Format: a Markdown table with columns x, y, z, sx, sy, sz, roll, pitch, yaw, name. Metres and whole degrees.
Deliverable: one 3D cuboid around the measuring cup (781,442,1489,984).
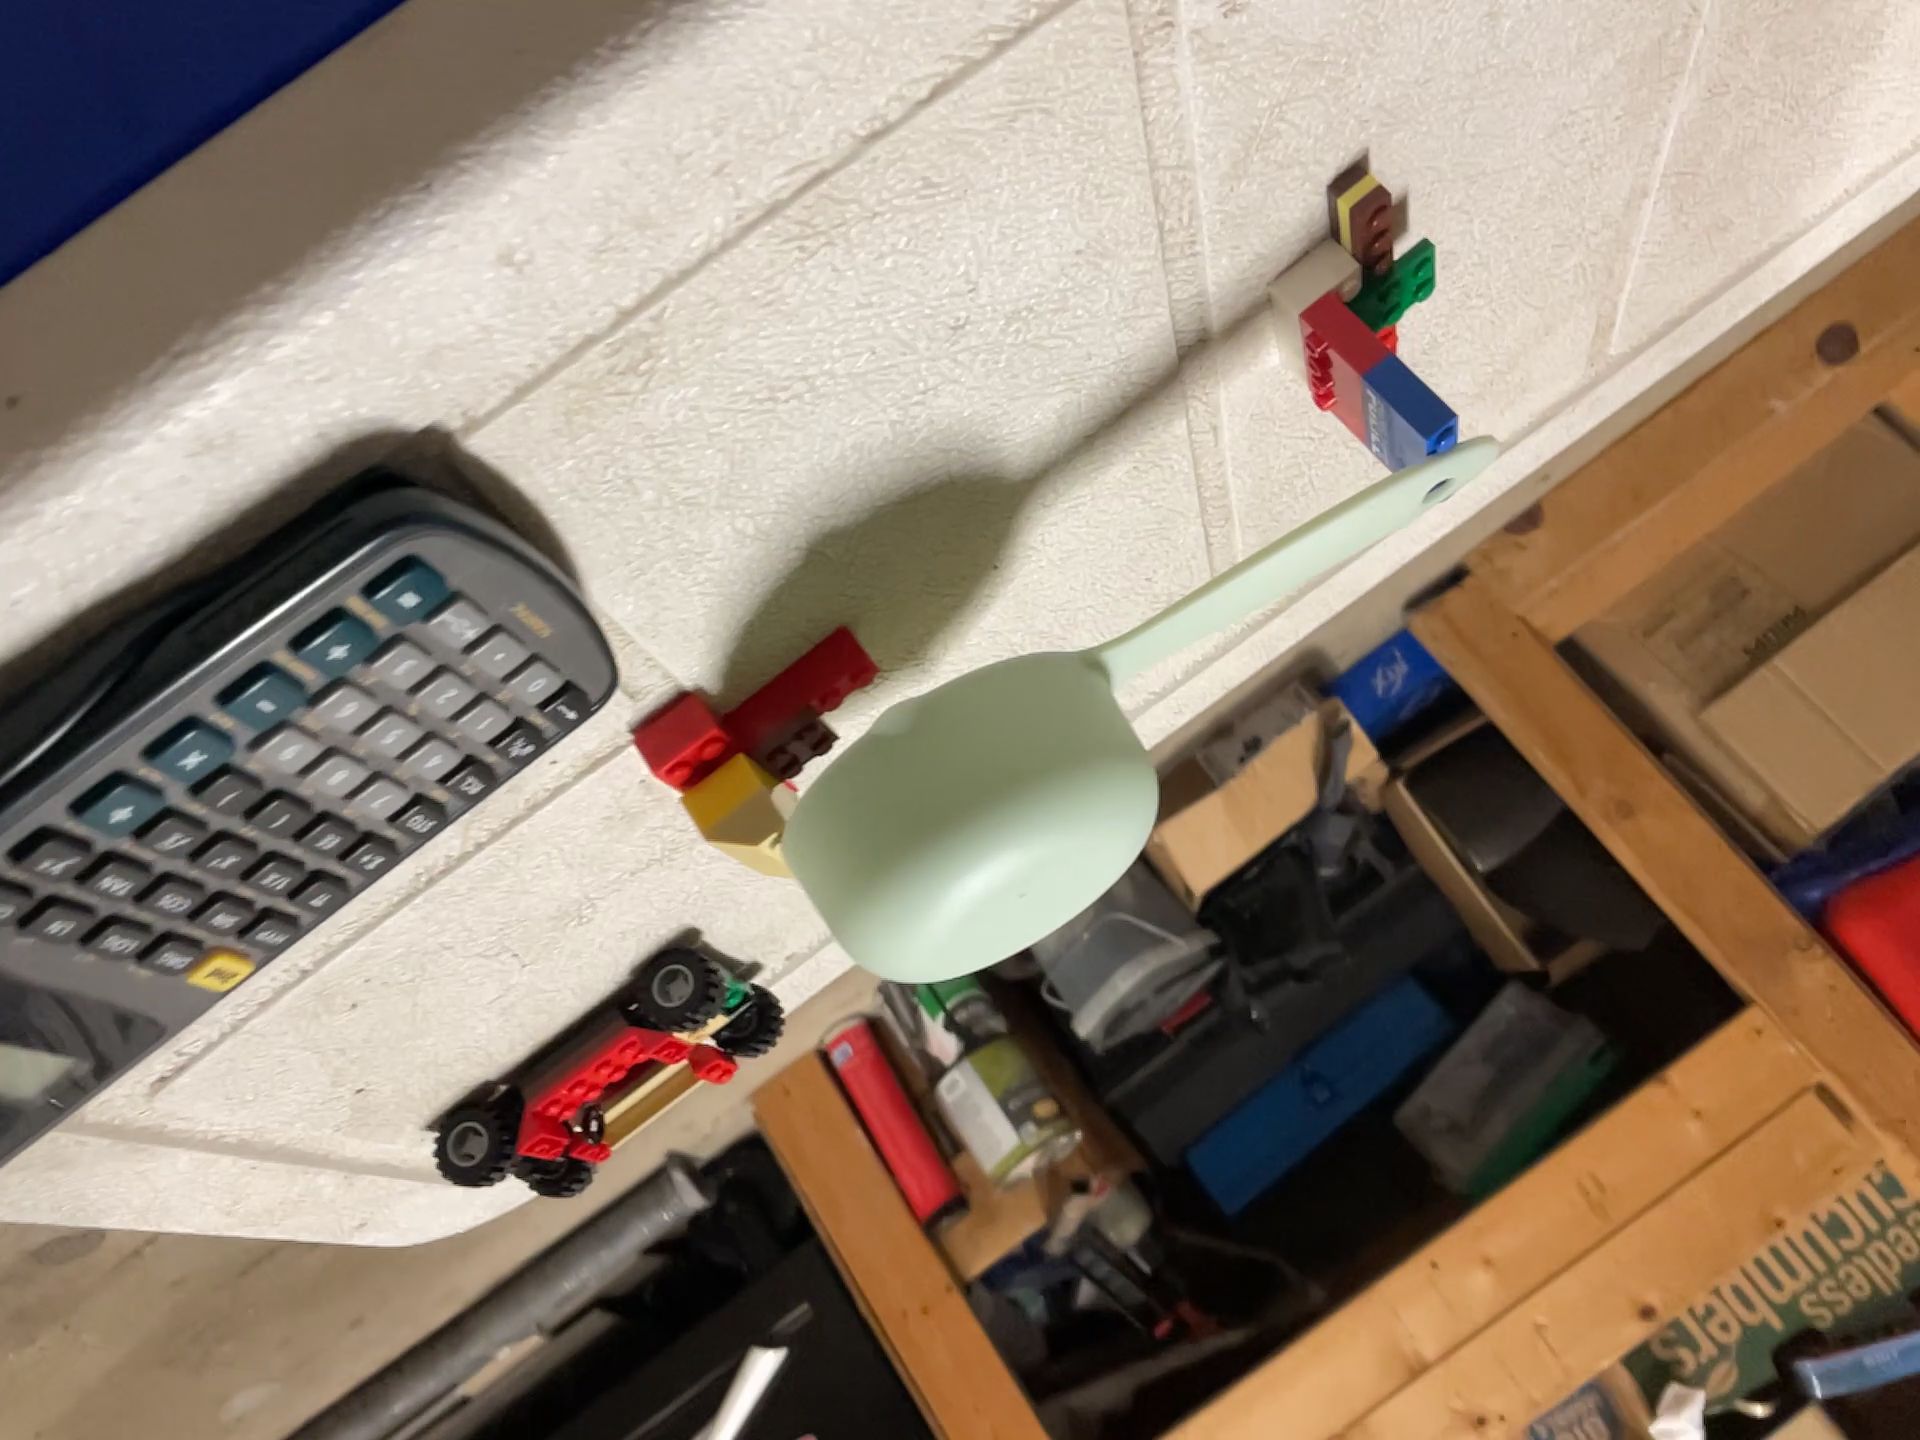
| x | y | z | sx | sy | sz | roll | pitch | yaw | name |
| --- | --- | --- | --- | --- | --- | --- | --- | --- | --- |
| 0.044 | 0.000 | 0.327 | 0.167 | 0.038 | 0.083 | -31 | 157 | 3 | measuring cup |
